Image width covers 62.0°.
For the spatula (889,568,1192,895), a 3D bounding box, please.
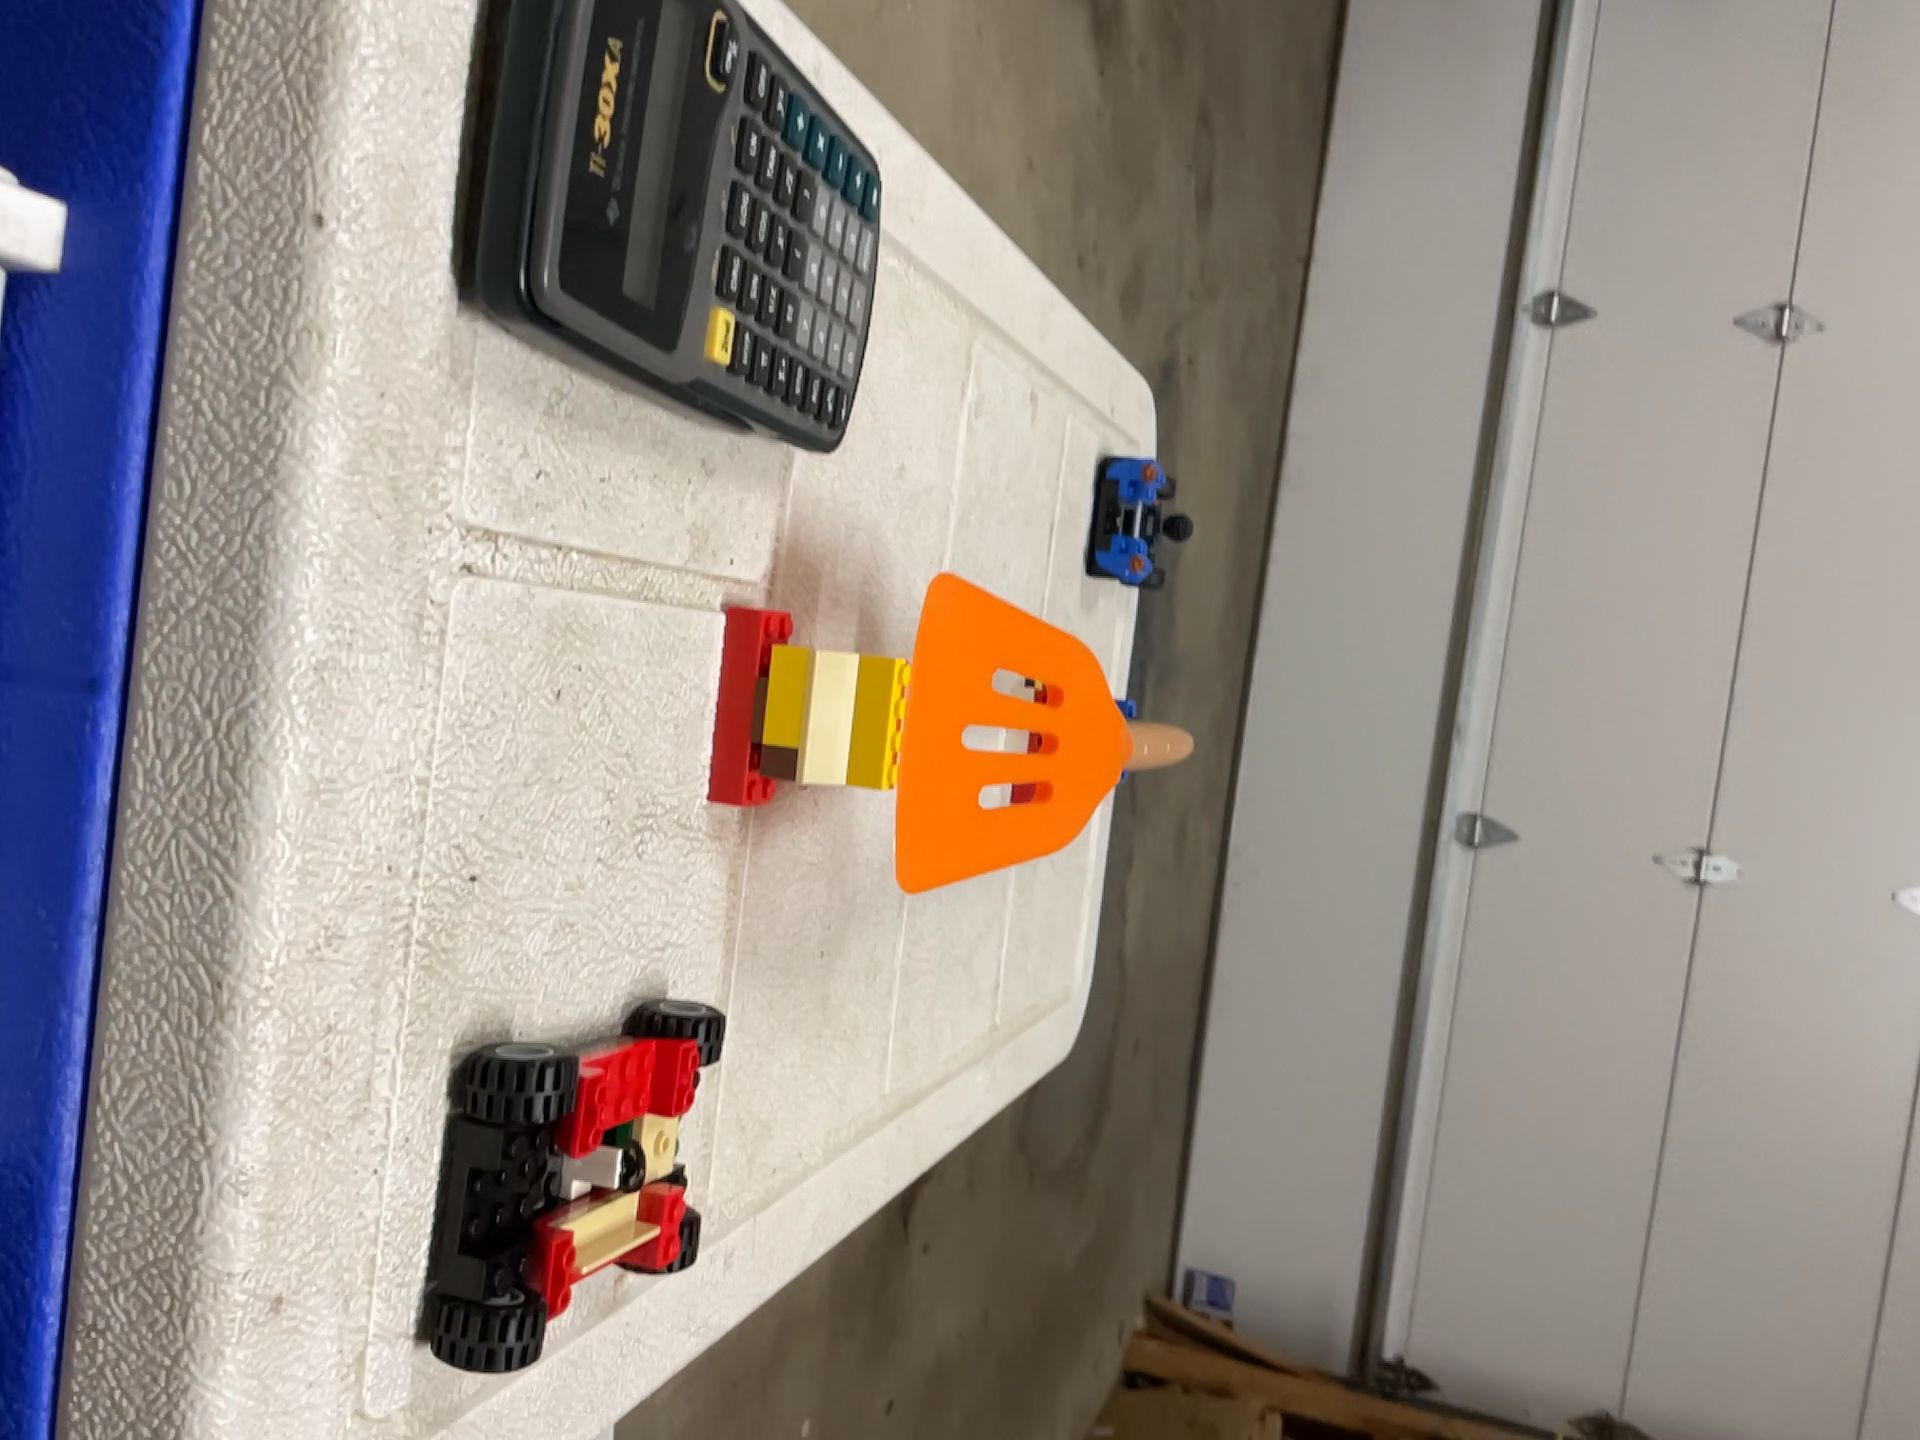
[{"bbox_3d":[0.045,0.007,0.535,0.322,0.041,0.081,4,93,-75],"label":"spatula"}]
